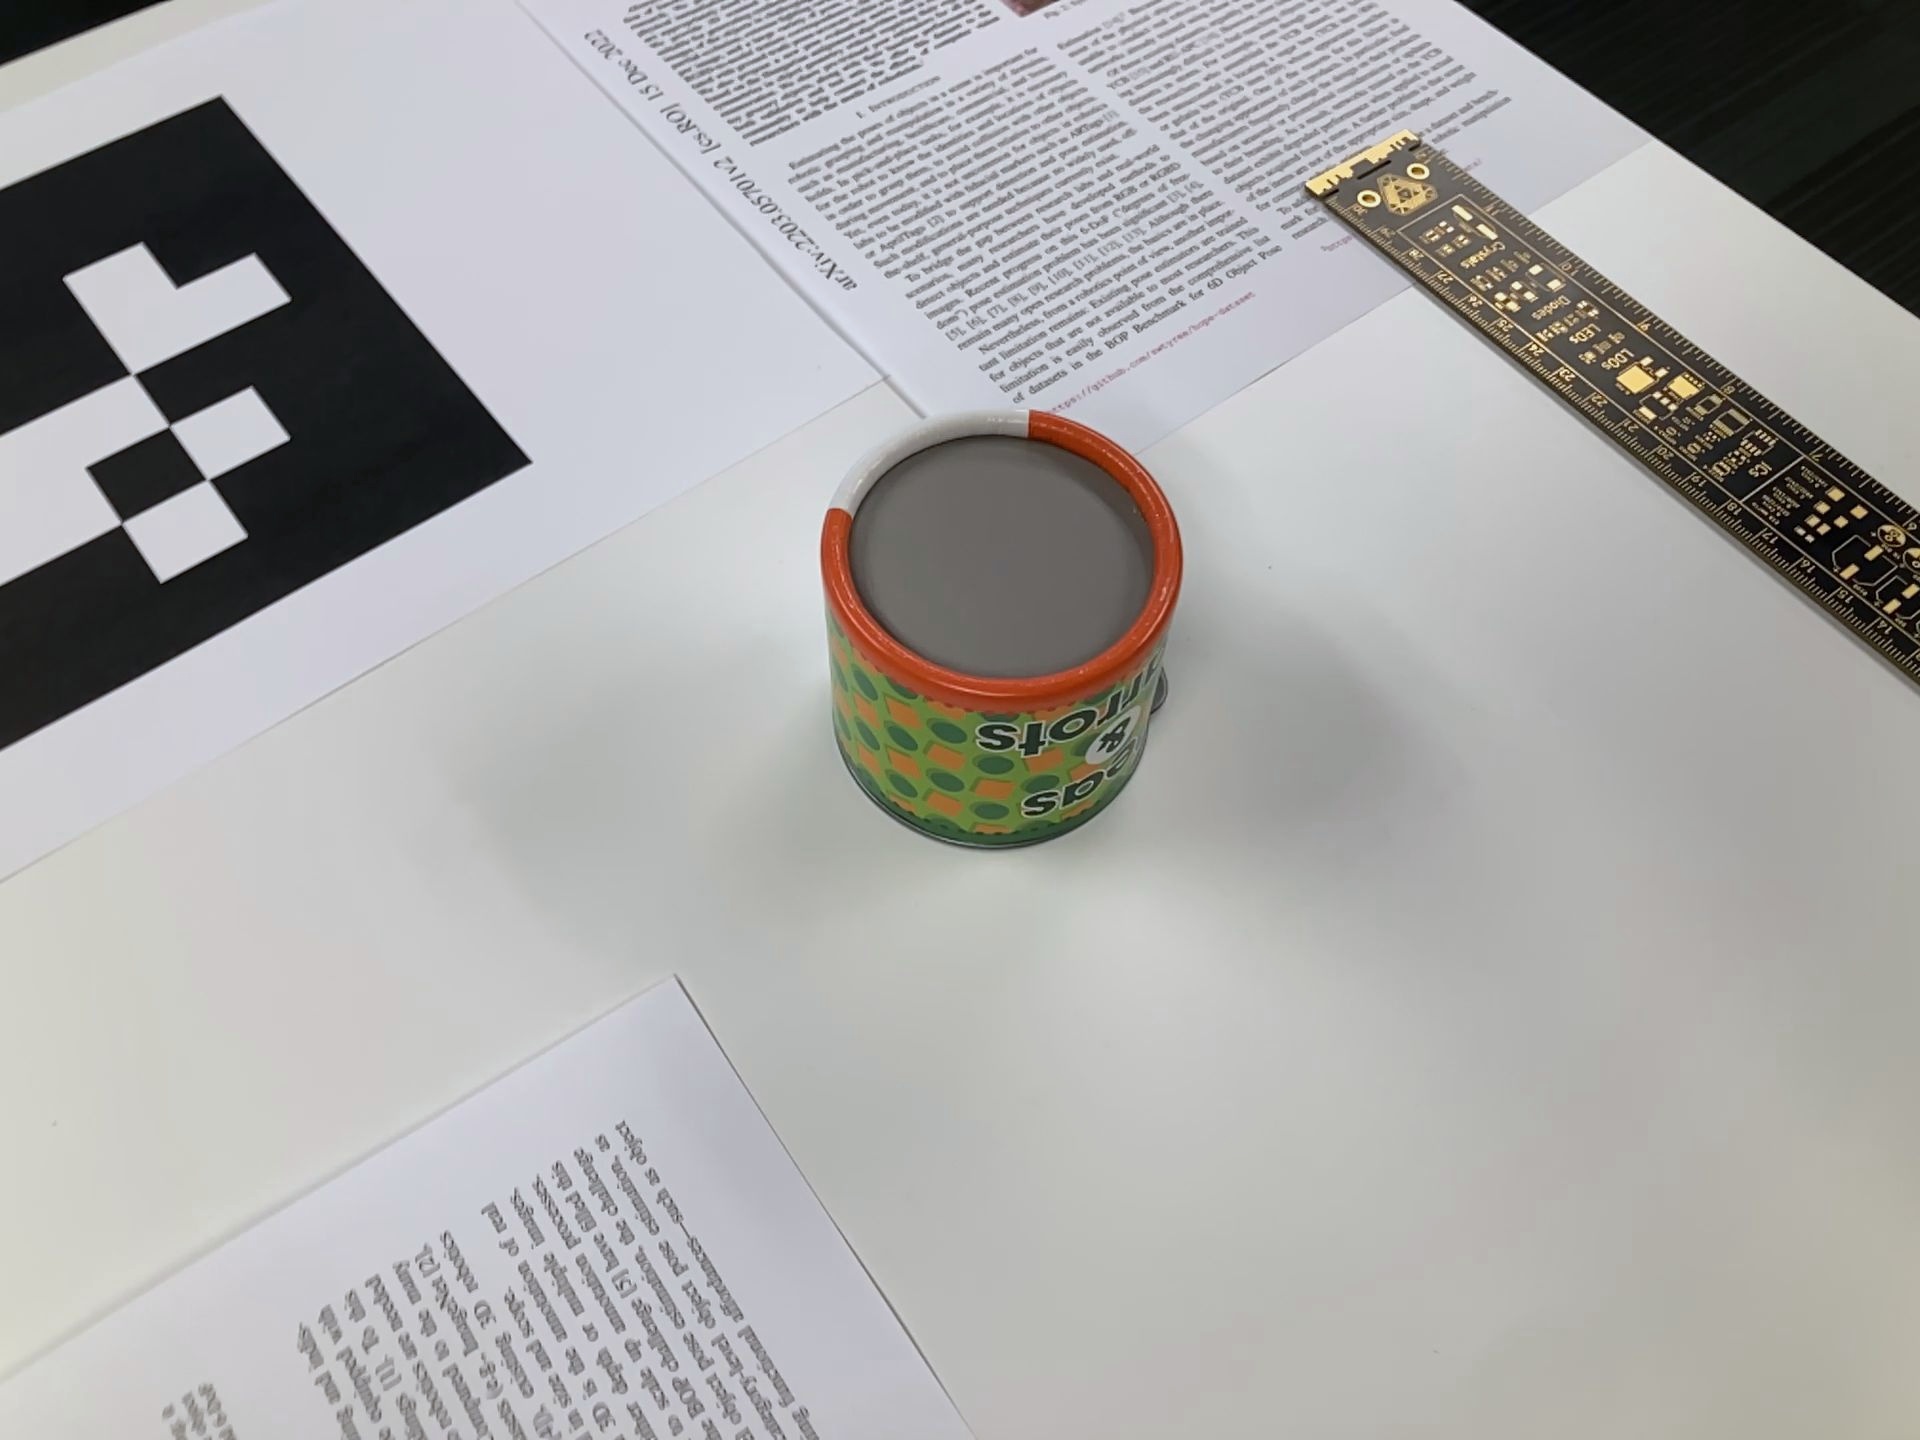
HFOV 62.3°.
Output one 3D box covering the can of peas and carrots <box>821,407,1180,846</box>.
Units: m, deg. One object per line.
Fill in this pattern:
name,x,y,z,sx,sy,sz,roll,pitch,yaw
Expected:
can of peas and carrots,0.008,-0.016,0.309,0.071,0.059,0.071,0,60,-1
